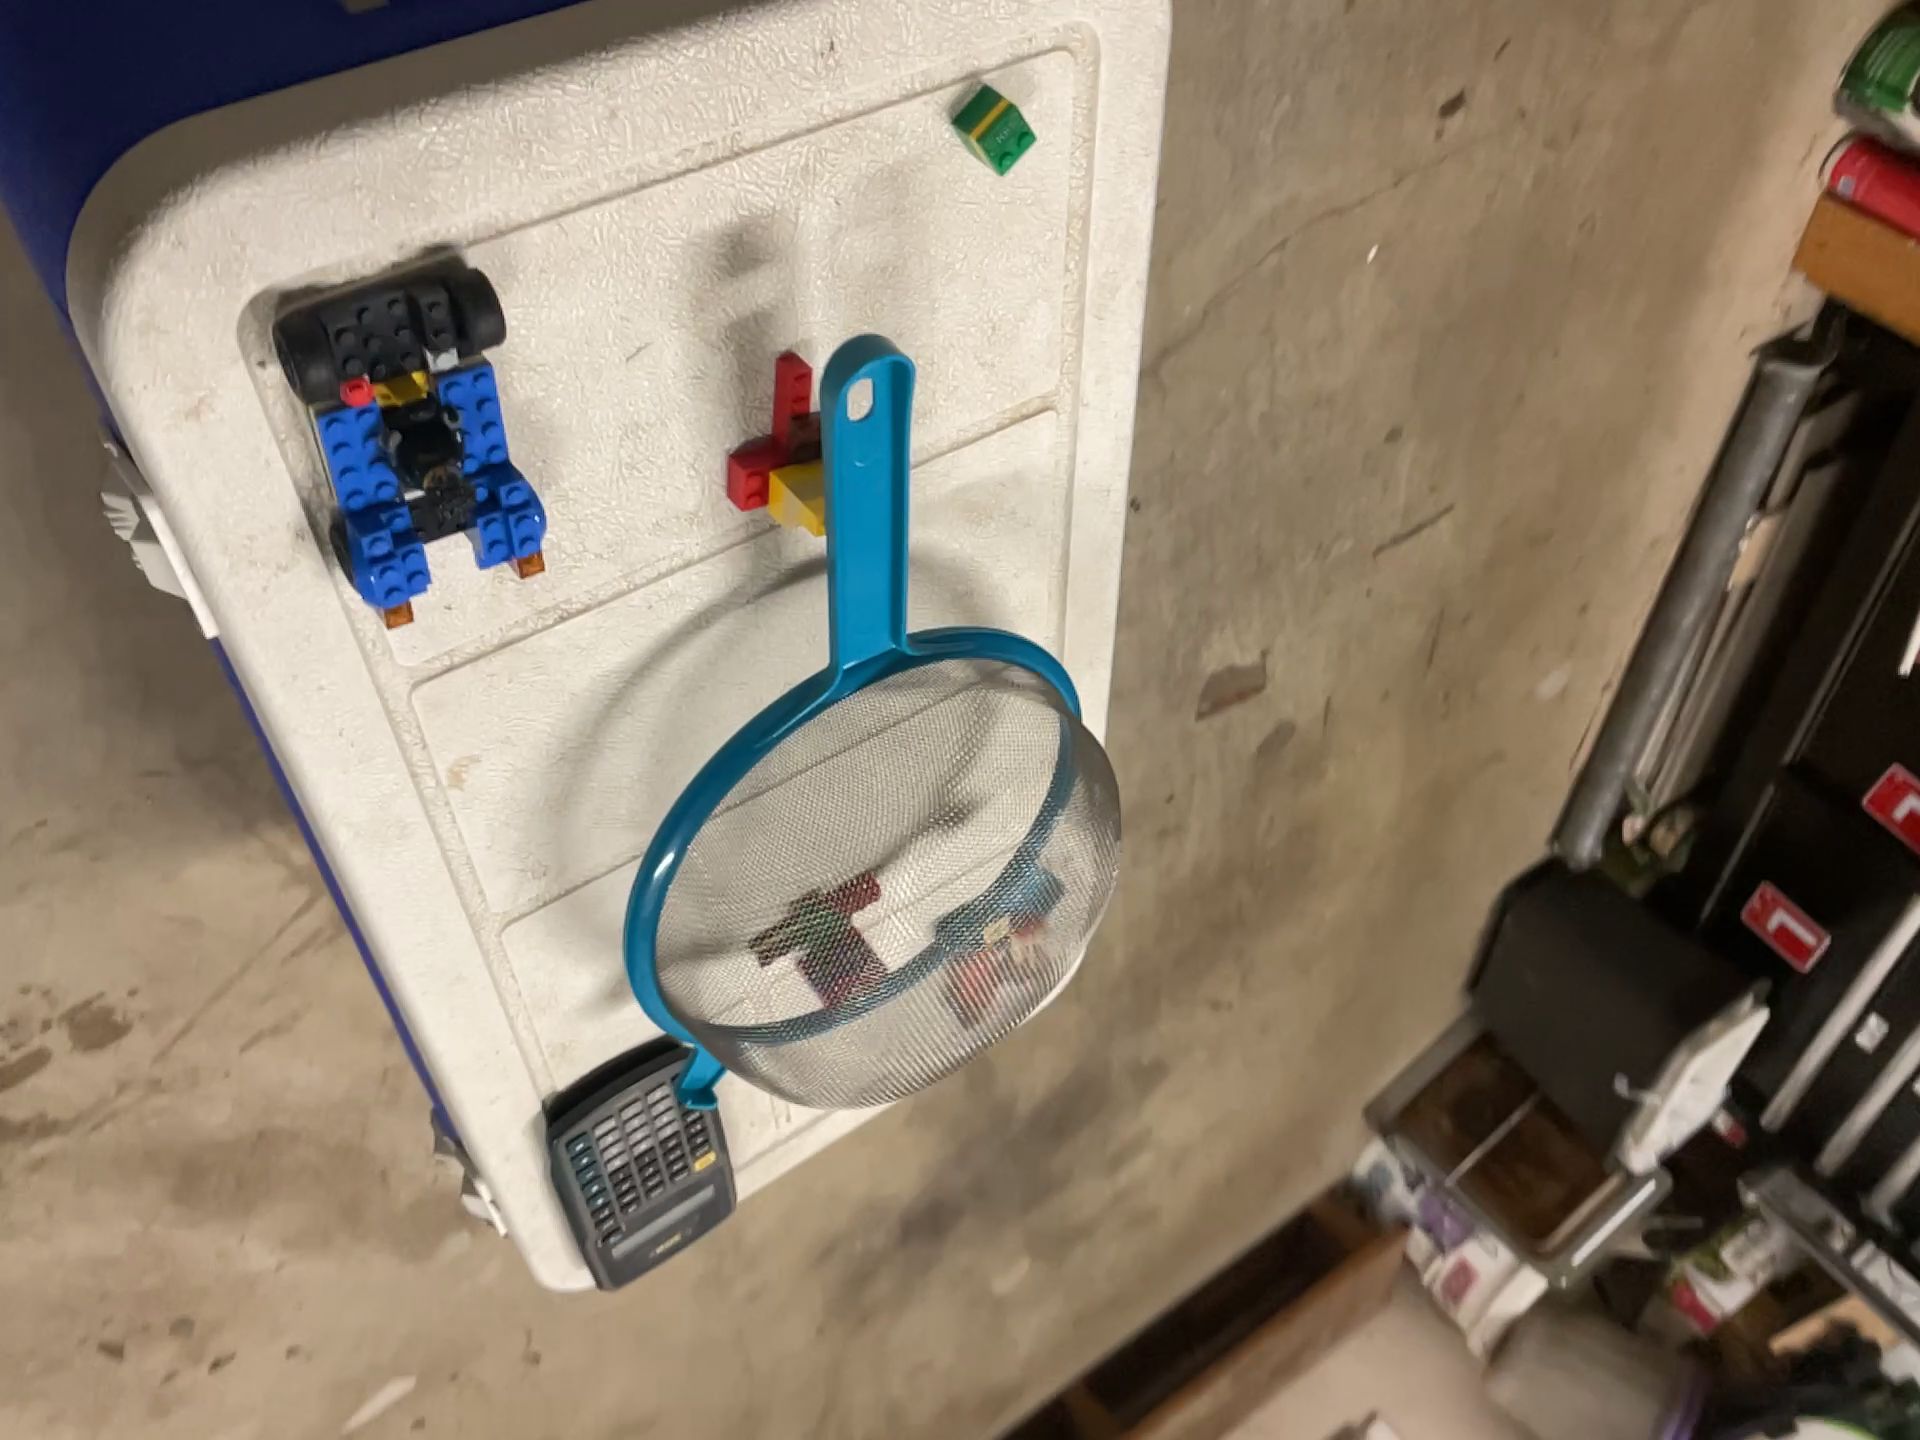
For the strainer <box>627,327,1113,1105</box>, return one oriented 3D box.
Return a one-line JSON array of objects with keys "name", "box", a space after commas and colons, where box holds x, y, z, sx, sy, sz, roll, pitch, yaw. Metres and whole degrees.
[{"name": "strainer", "box": [-0.010, 0.029, 0.558, 0.211, 0.095, 0.340, -26, 143, -24]}]
